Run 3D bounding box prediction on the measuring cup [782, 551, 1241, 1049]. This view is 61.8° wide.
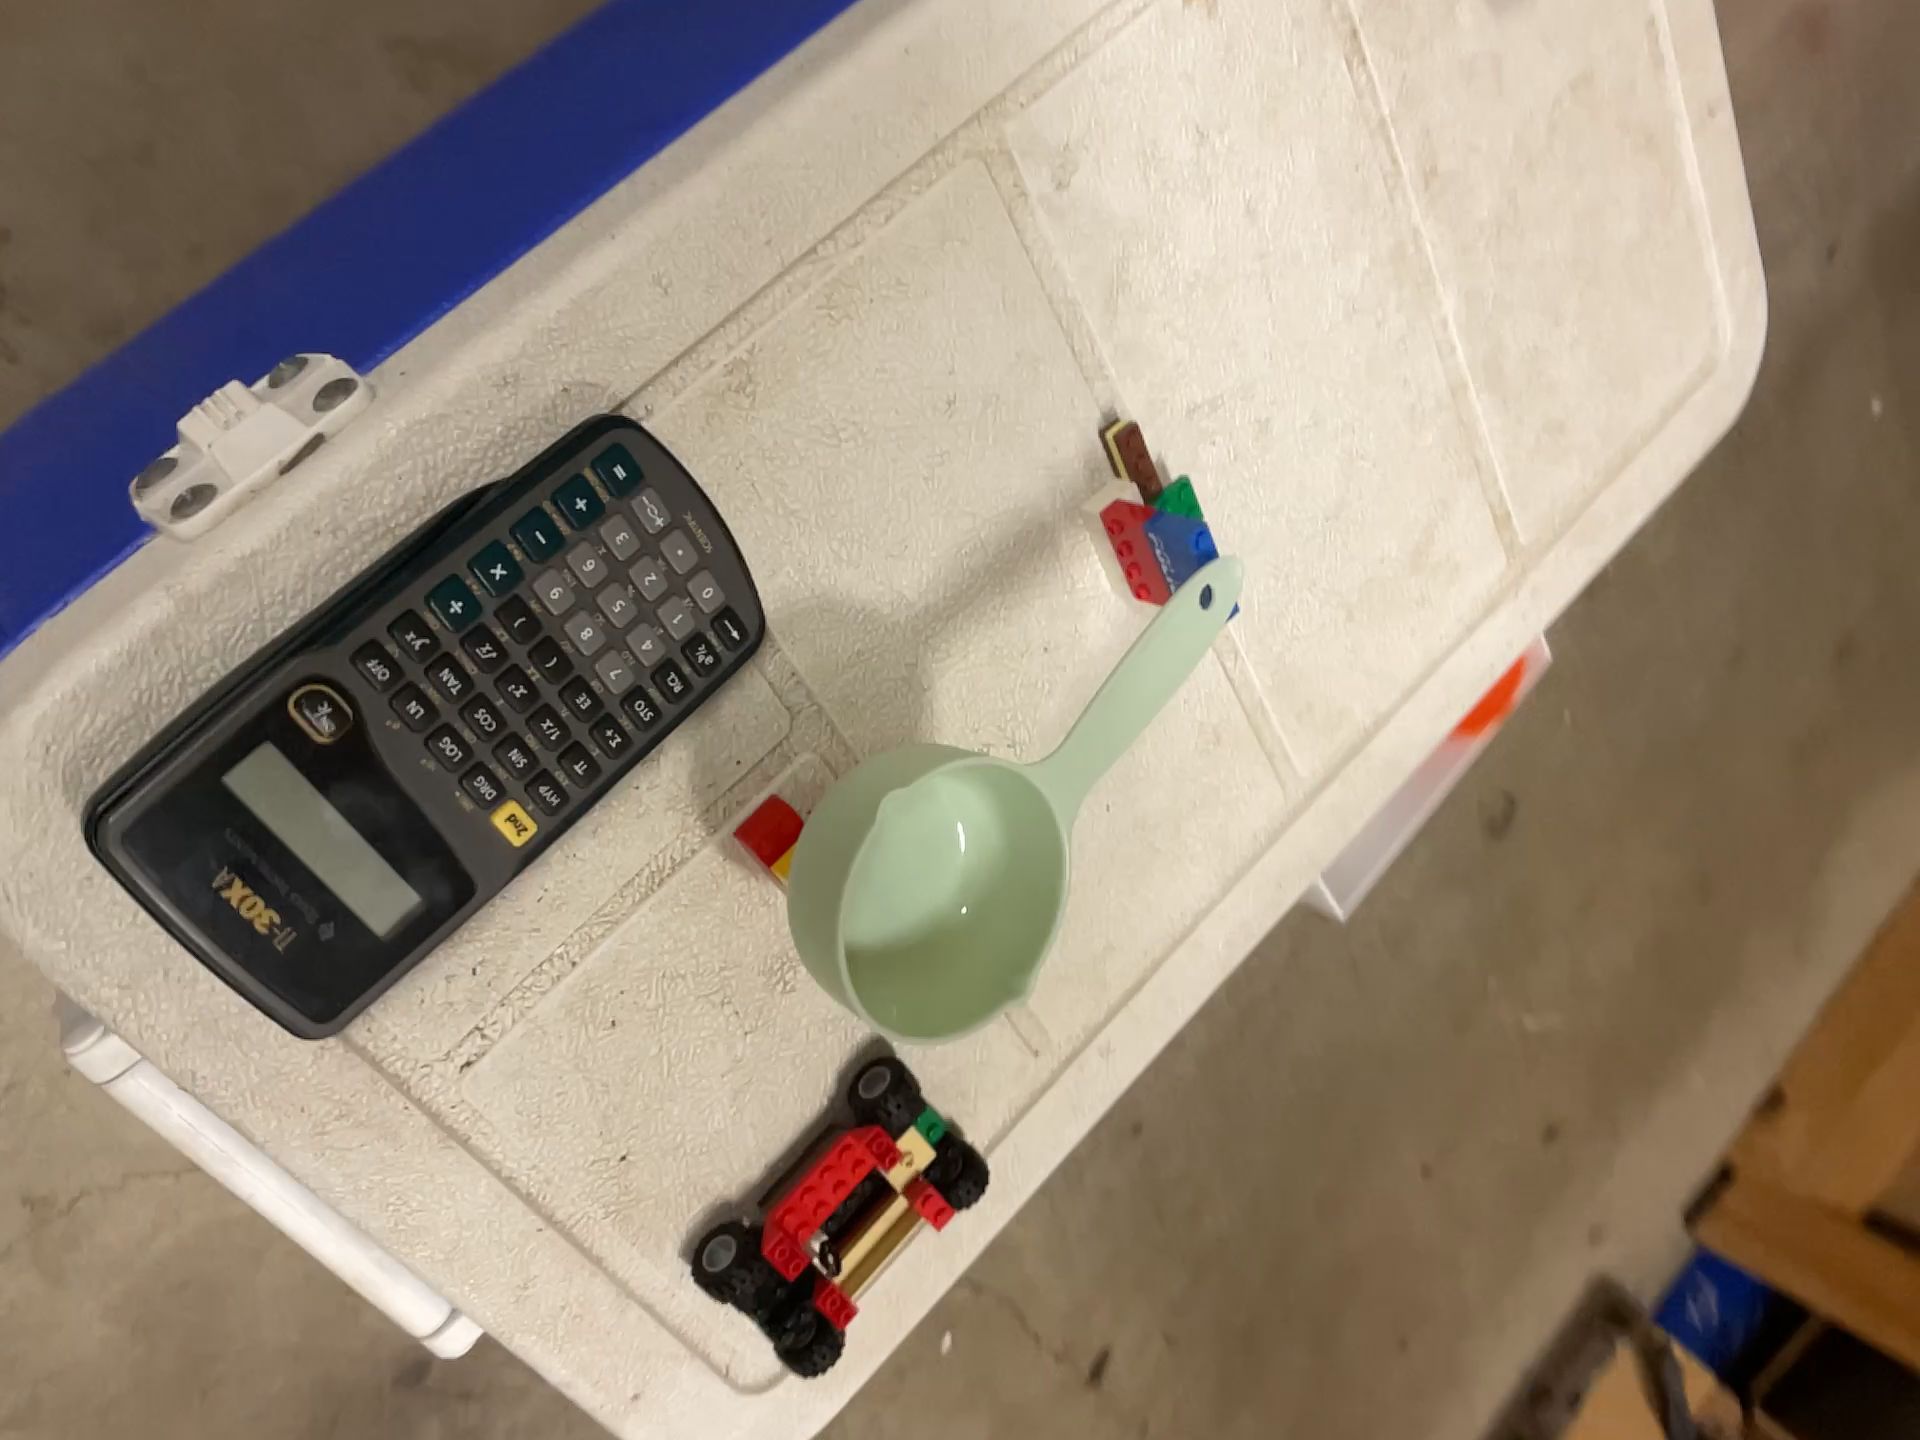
[{"bbox_3d":[0.017,0.011,0.434,0.168,0.038,0.083,-49,127,-20],"label":"measuring cup"}]
